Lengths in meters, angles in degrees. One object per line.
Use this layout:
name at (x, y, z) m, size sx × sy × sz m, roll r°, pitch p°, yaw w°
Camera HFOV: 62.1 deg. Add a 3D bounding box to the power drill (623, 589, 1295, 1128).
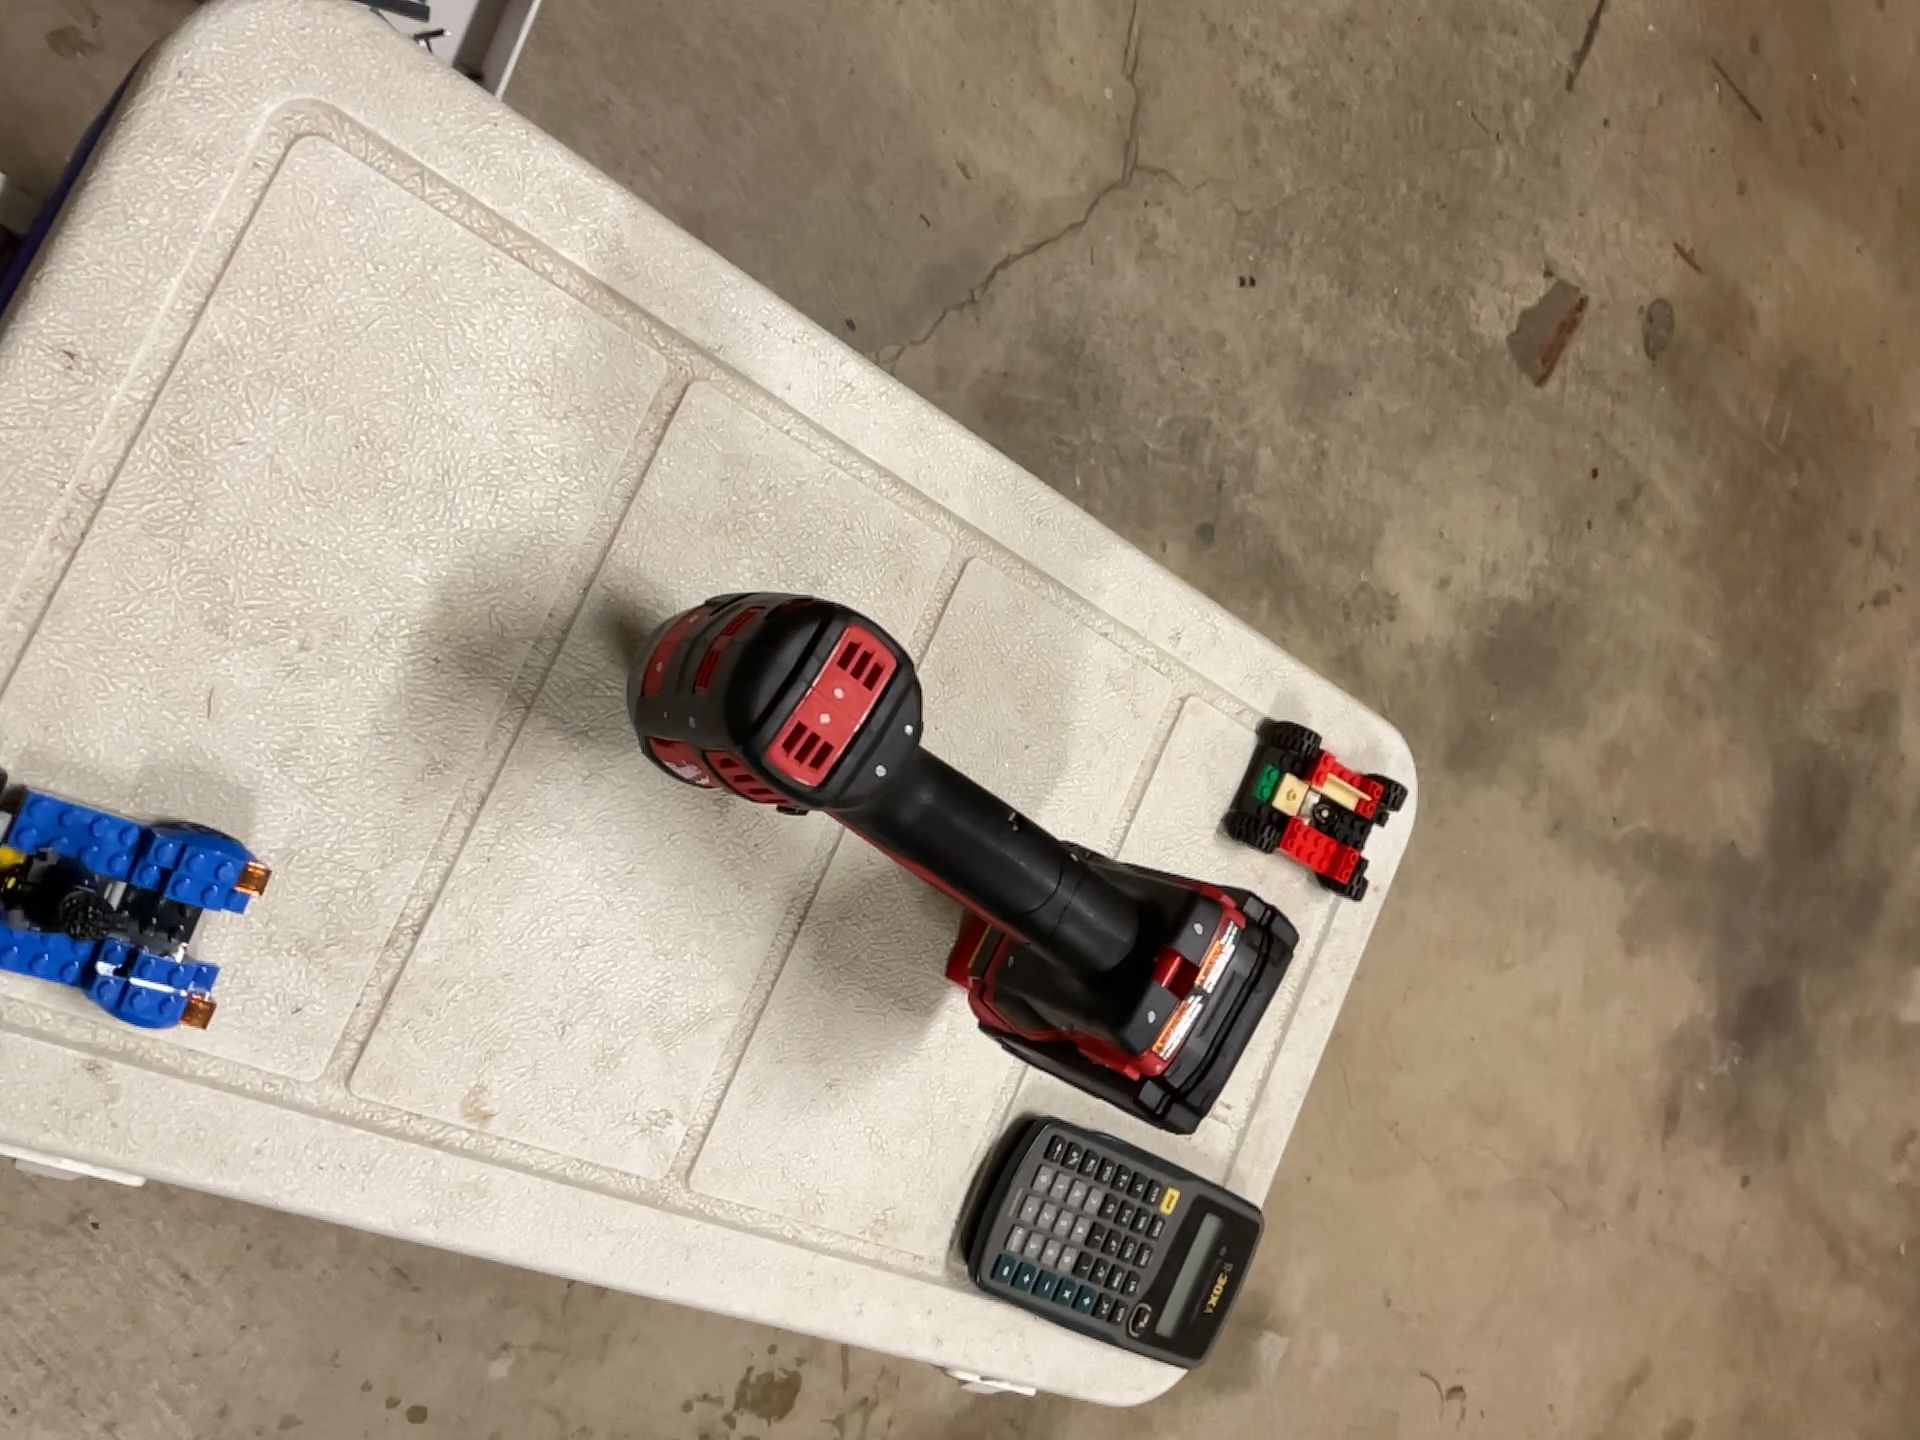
power drill at (-0.010, 0.037, 0.516) m, size 0.219 × 0.143 × 0.078 m, roll 39°, pitch 75°, yaw -25°
